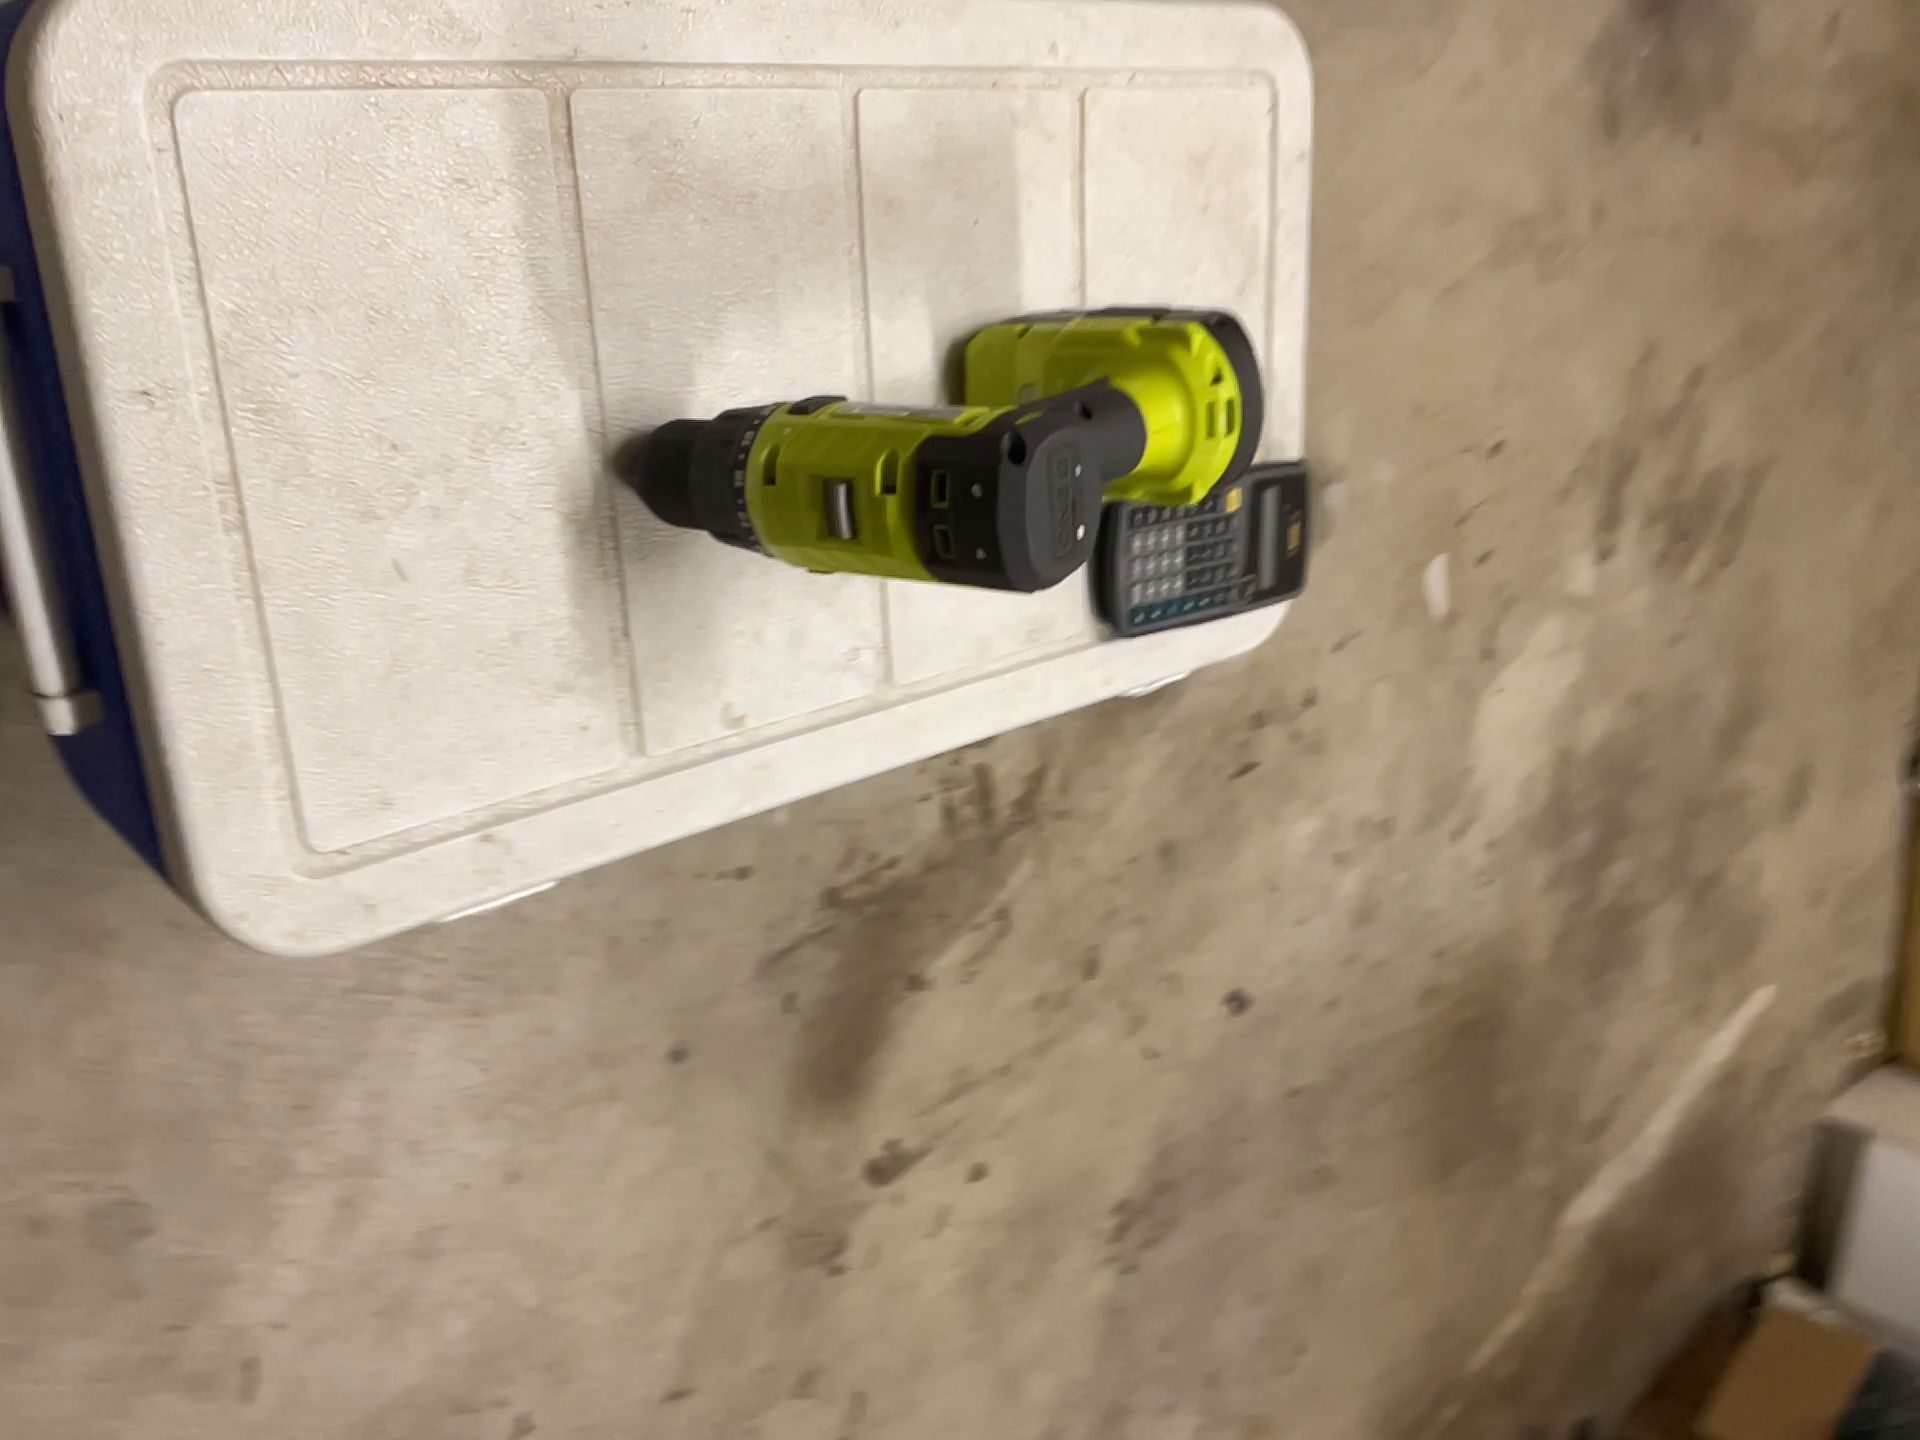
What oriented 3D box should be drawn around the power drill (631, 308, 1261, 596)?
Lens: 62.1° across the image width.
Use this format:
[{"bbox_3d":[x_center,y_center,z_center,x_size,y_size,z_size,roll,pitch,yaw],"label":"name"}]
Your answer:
[{"bbox_3d":[0.001,-0.111,0.642,0.229,0.190,0.080,-30,122,-49],"label":"power drill"}]
